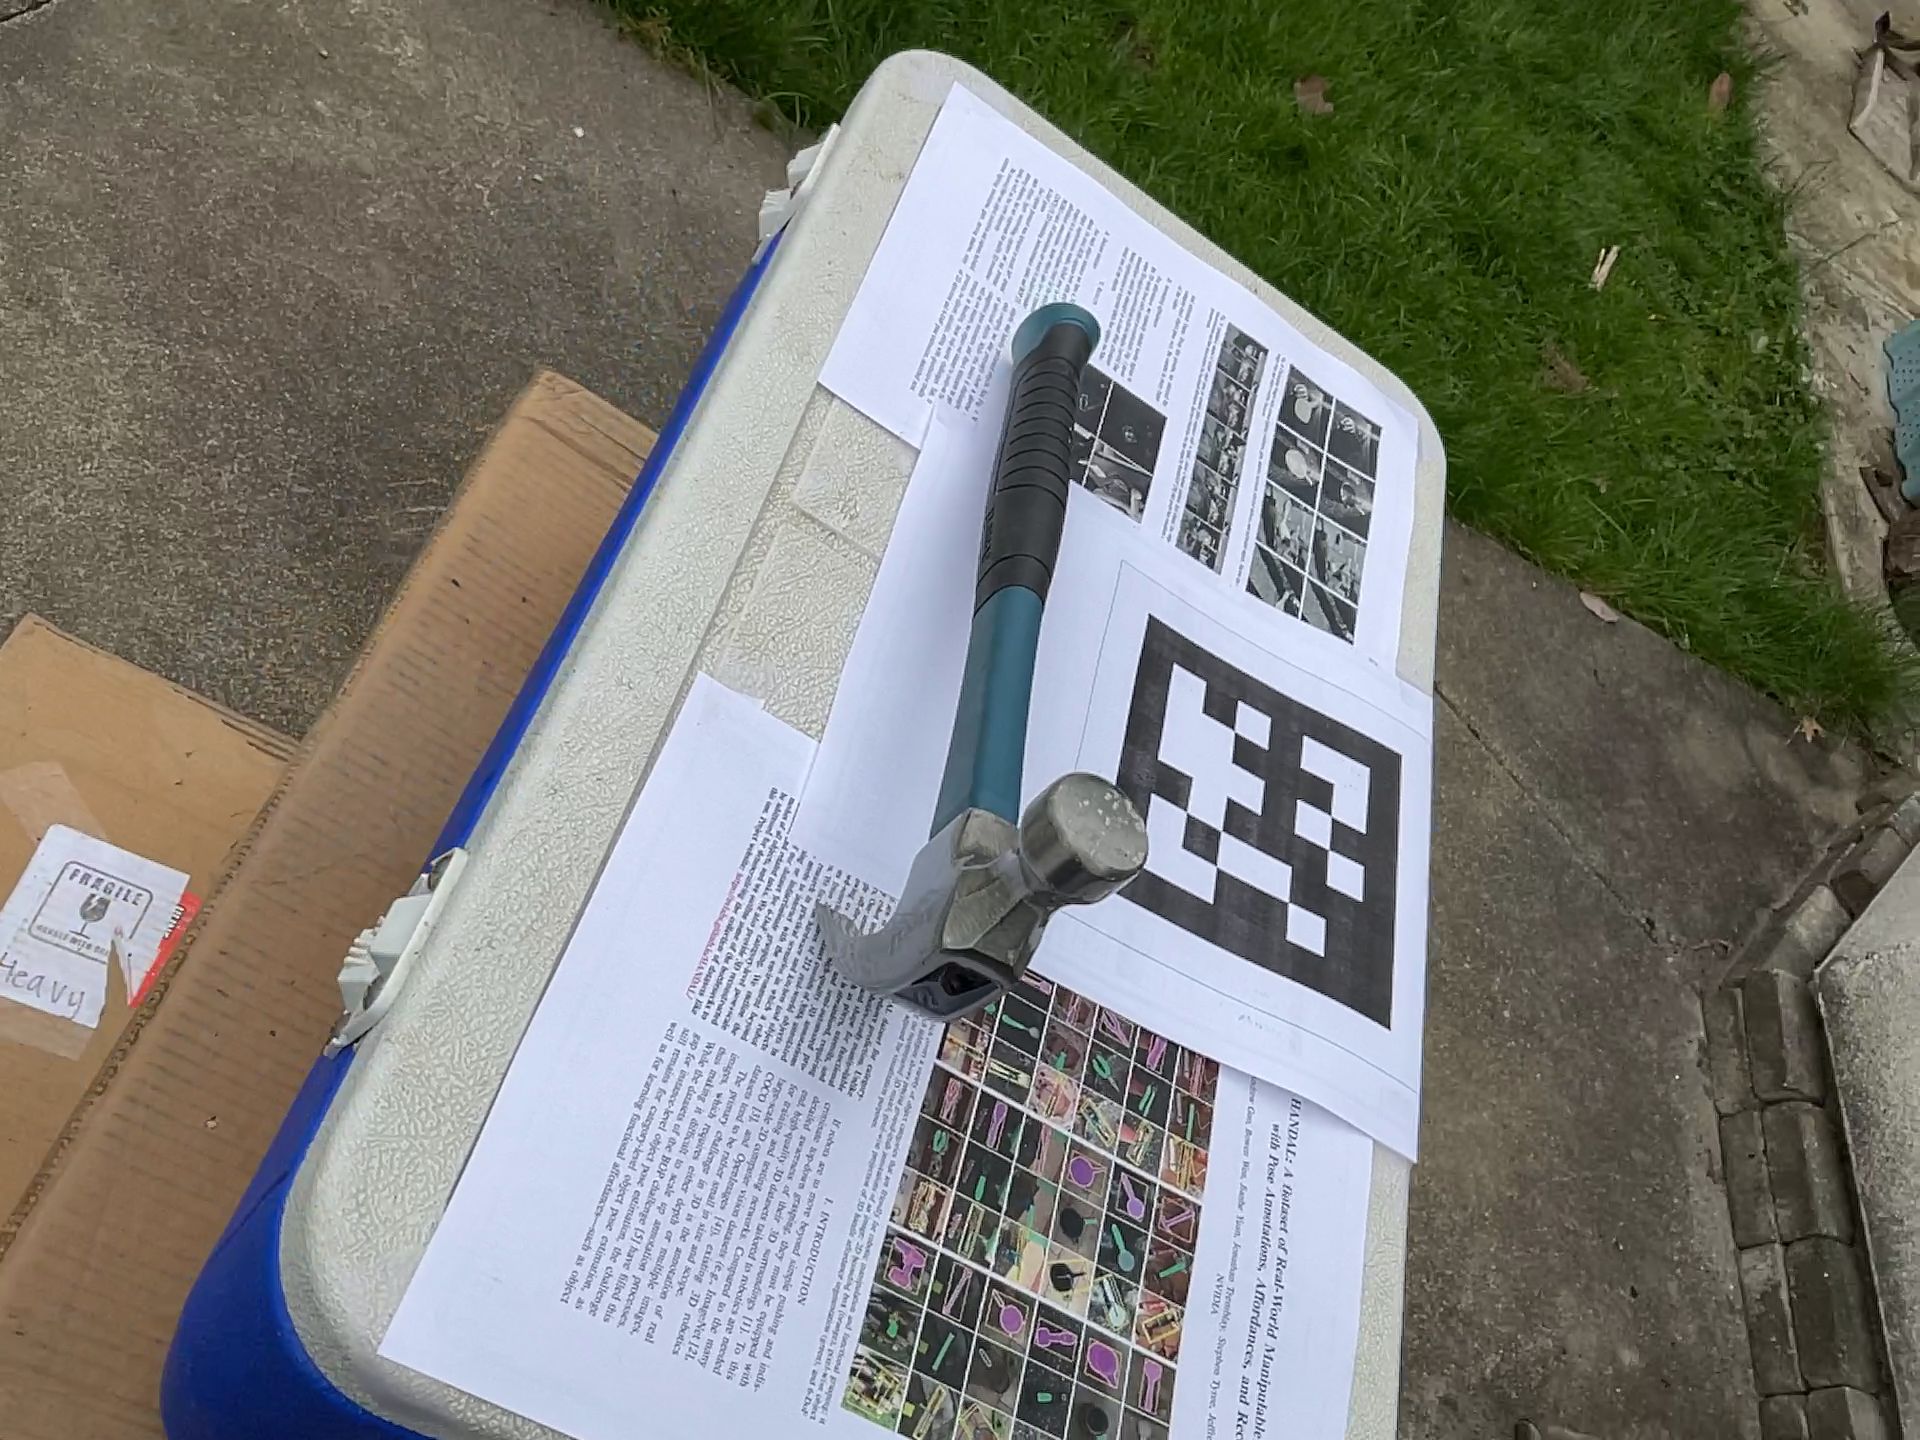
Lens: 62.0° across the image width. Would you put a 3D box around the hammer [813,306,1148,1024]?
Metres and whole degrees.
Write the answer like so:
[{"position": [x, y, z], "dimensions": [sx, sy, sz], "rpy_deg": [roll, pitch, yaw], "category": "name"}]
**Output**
[{"position": [0.018, -0.043, 0.528], "dimensions": [0.033, 0.128, 0.331], "rpy_deg": [30, 40, -18], "category": "hammer"}]
